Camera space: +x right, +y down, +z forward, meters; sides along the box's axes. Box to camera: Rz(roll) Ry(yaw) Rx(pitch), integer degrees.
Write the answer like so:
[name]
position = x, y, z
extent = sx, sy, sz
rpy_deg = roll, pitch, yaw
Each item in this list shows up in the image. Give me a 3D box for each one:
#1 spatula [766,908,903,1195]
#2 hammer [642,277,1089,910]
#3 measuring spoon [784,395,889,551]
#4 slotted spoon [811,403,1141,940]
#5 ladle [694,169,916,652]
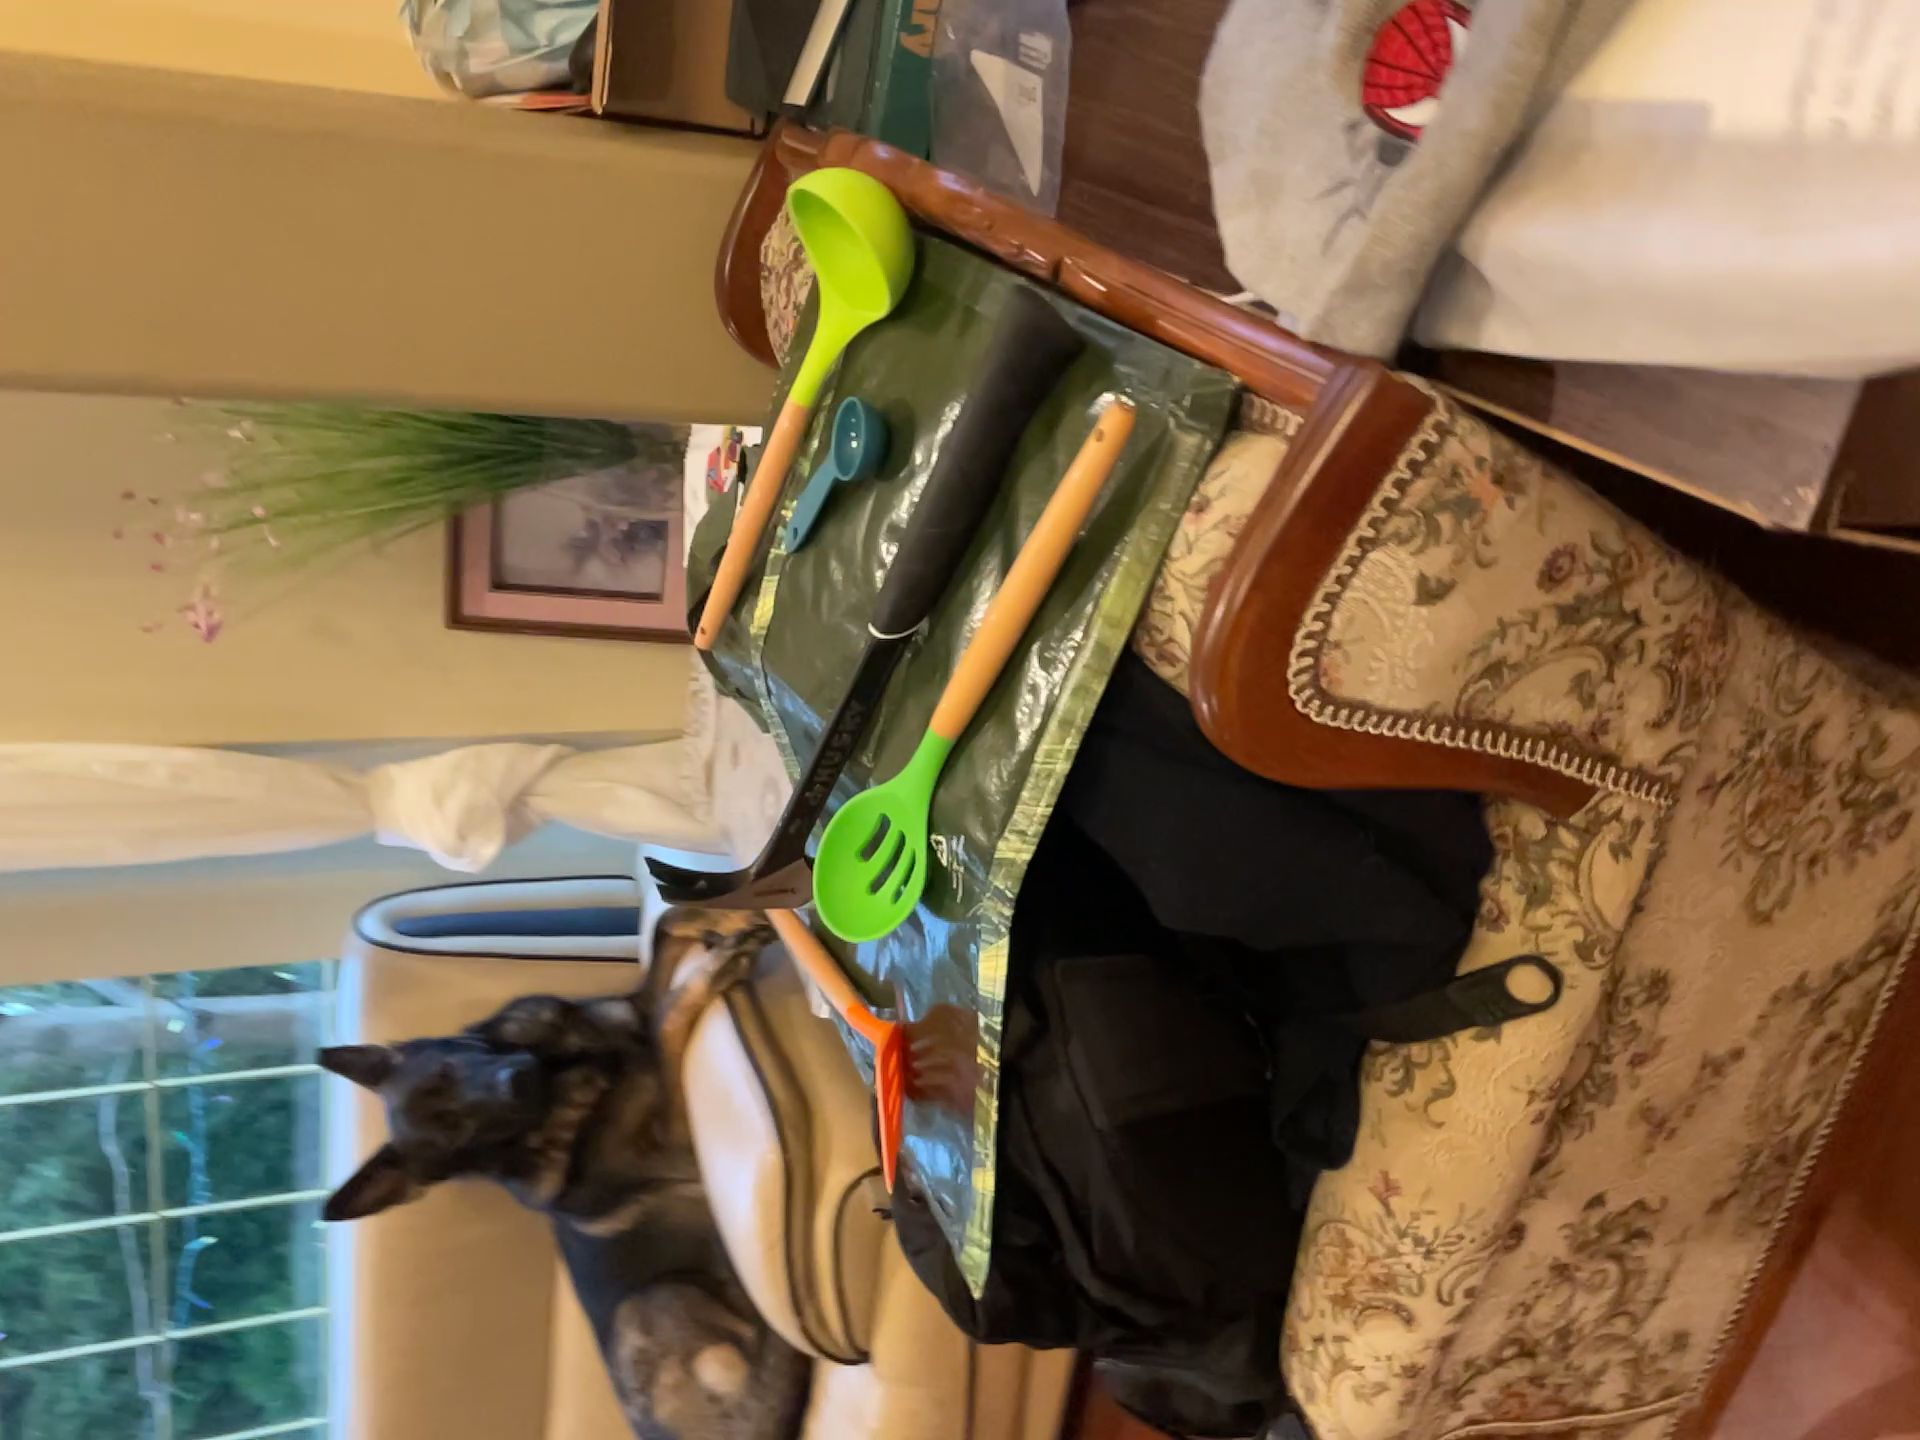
[spatula]
position = -0.080, 0.171, 0.971
extent = 0.323, 0.041, 0.081
rpy_deg = -145, 50, -63
[hammer]
position = -0.041, -0.039, 0.799
extent = 0.036, 0.149, 0.409
rpy_deg = 57, 135, 33
[measuring spoon]
position = -0.065, -0.125, 0.844
extent = 0.128, 0.021, 0.042
rpy_deg = 133, 131, -55
[slotted spoon]
position = 0.005, -0.013, 0.735
extent = 0.070, 0.031, 0.313
rpy_deg = 52, 129, 29
[ladle]
position = -0.103, -0.154, 0.876
extent = 0.078, 0.062, 0.320
rpy_deg = 45, 130, 20
